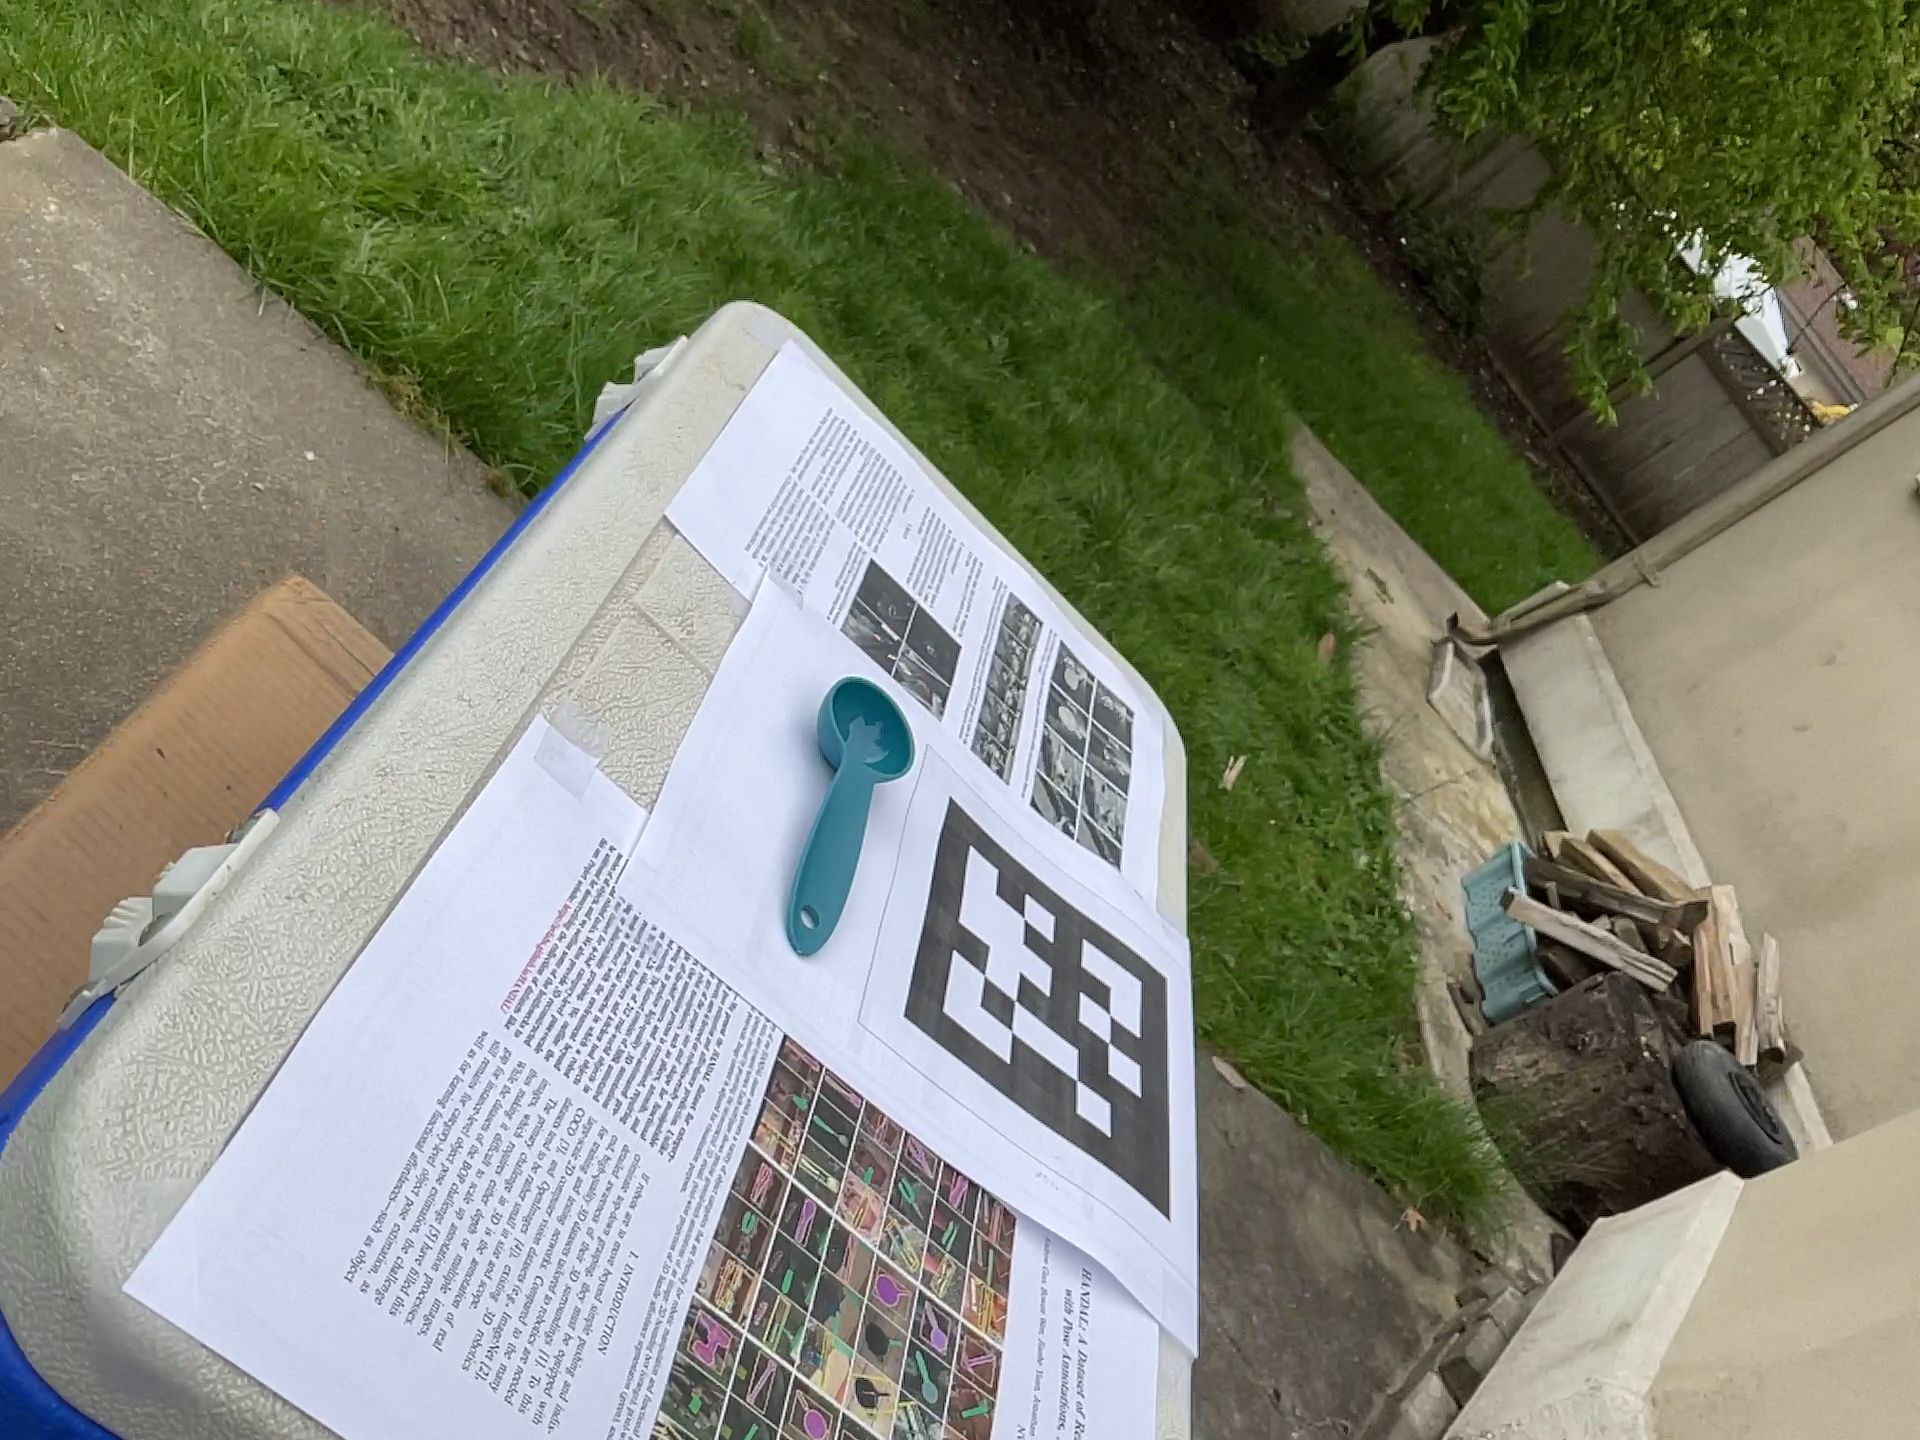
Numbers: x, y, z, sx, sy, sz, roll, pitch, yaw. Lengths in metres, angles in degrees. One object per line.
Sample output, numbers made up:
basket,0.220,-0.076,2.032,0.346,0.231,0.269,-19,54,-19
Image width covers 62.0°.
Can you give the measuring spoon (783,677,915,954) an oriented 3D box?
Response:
measuring spoon,-0.046,0.035,0.559,0.042,0.021,0.129,41,37,-21
